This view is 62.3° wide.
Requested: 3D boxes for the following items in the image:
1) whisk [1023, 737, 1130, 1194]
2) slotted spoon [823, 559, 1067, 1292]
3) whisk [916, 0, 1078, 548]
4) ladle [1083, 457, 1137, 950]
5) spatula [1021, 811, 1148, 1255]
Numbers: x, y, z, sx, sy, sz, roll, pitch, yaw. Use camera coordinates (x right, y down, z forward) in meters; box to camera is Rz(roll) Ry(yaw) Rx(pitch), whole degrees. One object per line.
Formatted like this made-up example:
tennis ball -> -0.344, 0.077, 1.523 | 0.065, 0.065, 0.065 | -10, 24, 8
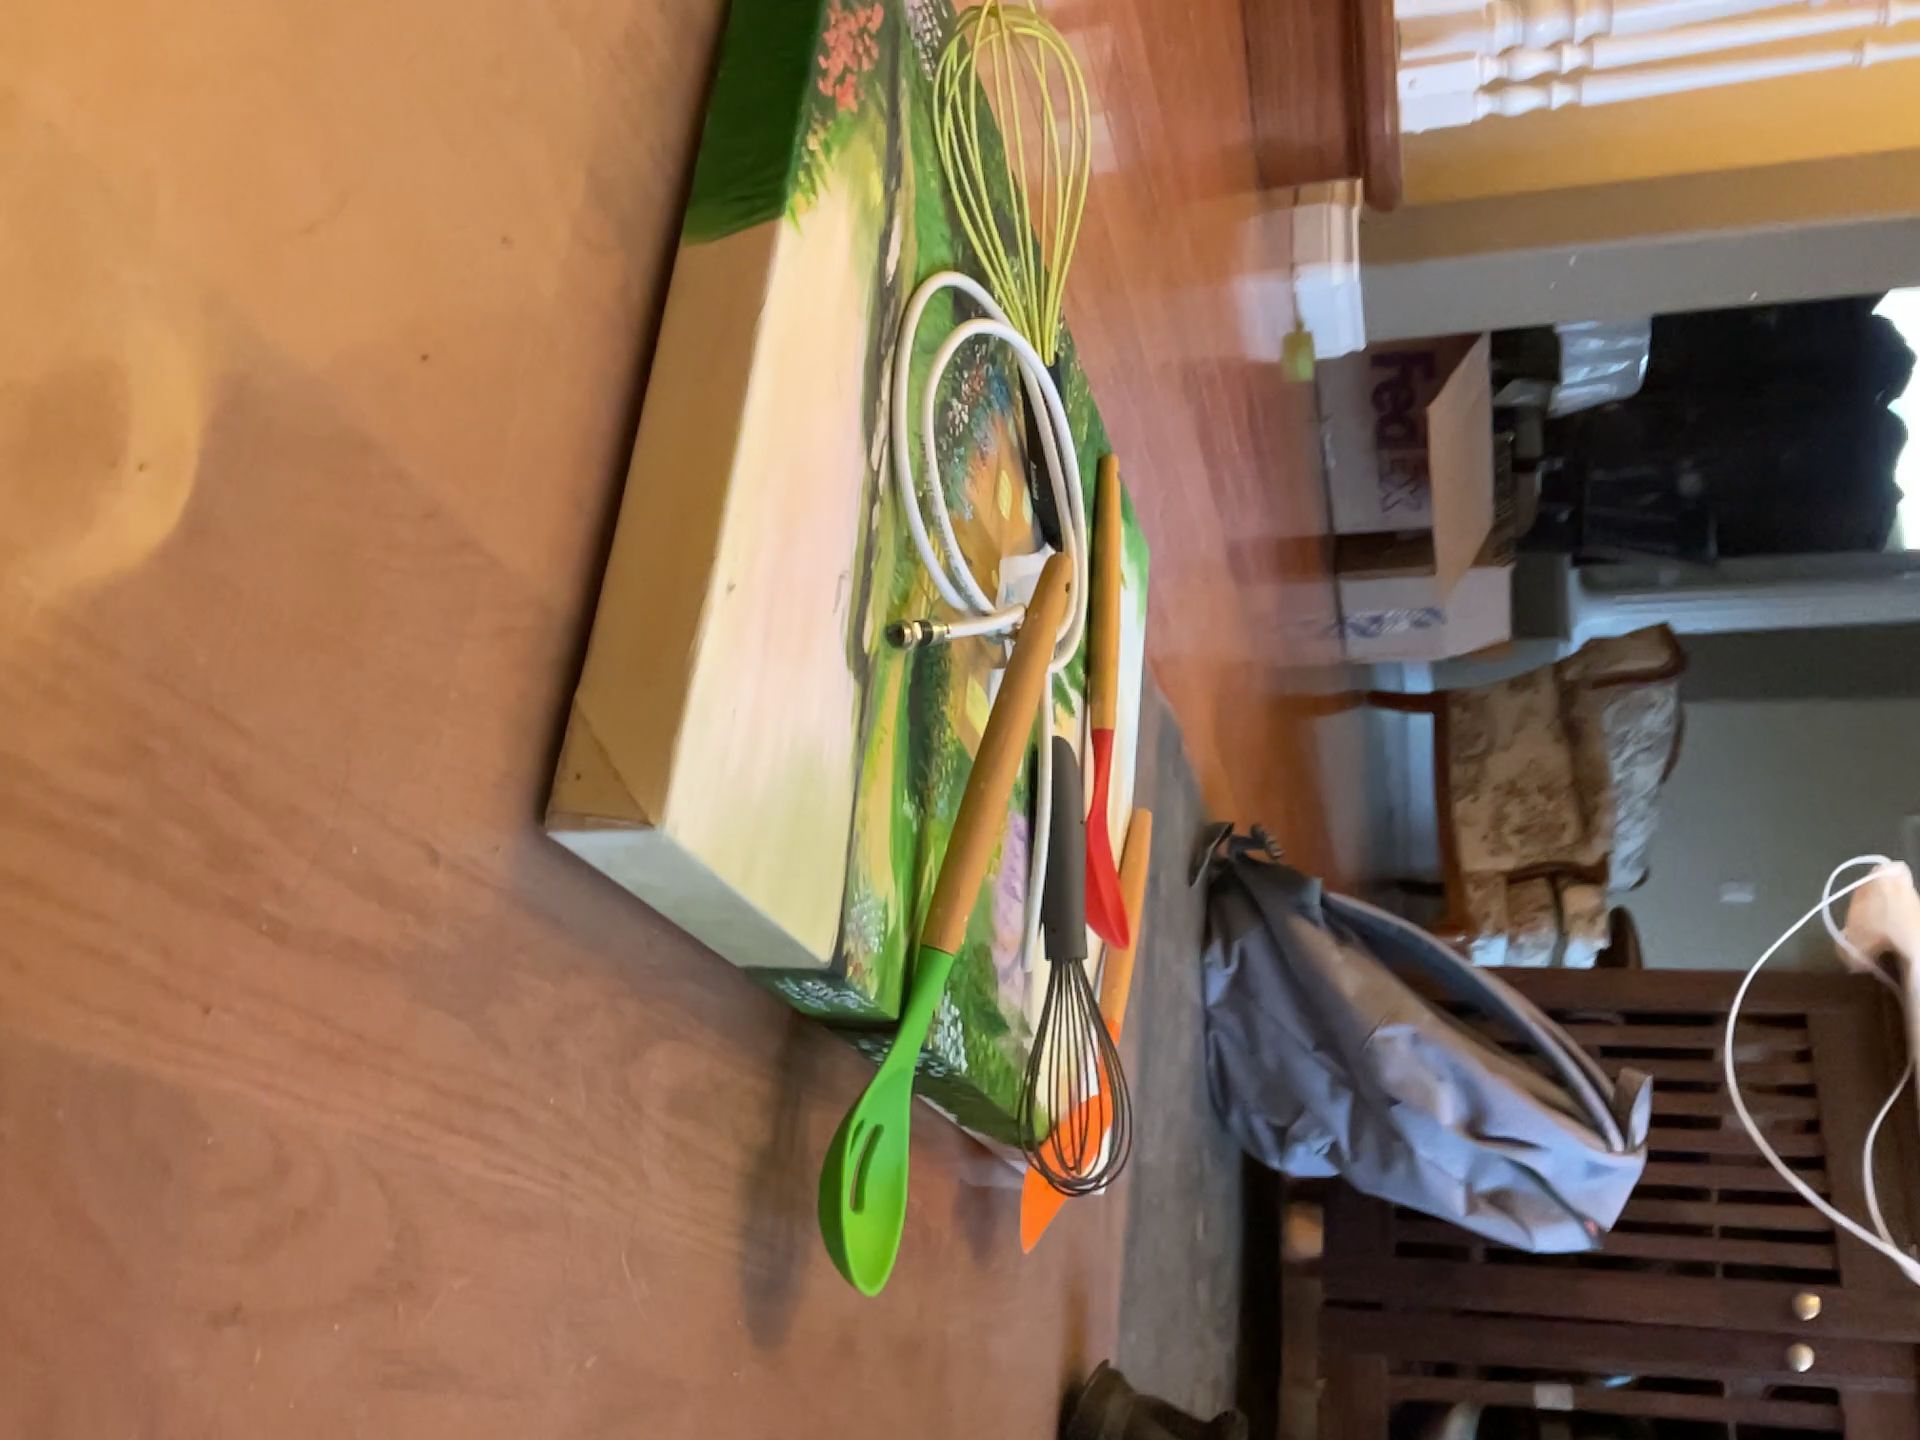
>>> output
whisk -> 0.057, 0.123, 0.828 | 0.055, 0.055, 0.239 | 67, 19, -71
slotted spoon -> -0.002, 0.074, 0.661 | 0.070, 0.031, 0.314 | 51, 52, -61
whisk -> 0.032, -0.203, 0.783 | 0.311, 0.067, 0.080 | 77, 26, -46
ladle -> 0.089, -0.016, 0.971 | 0.069, 0.031, 0.316 | 46, 43, -66
spatula -> 0.083, 0.168, 0.965 | 0.323, 0.041, 0.080 | -73, 166, -48
